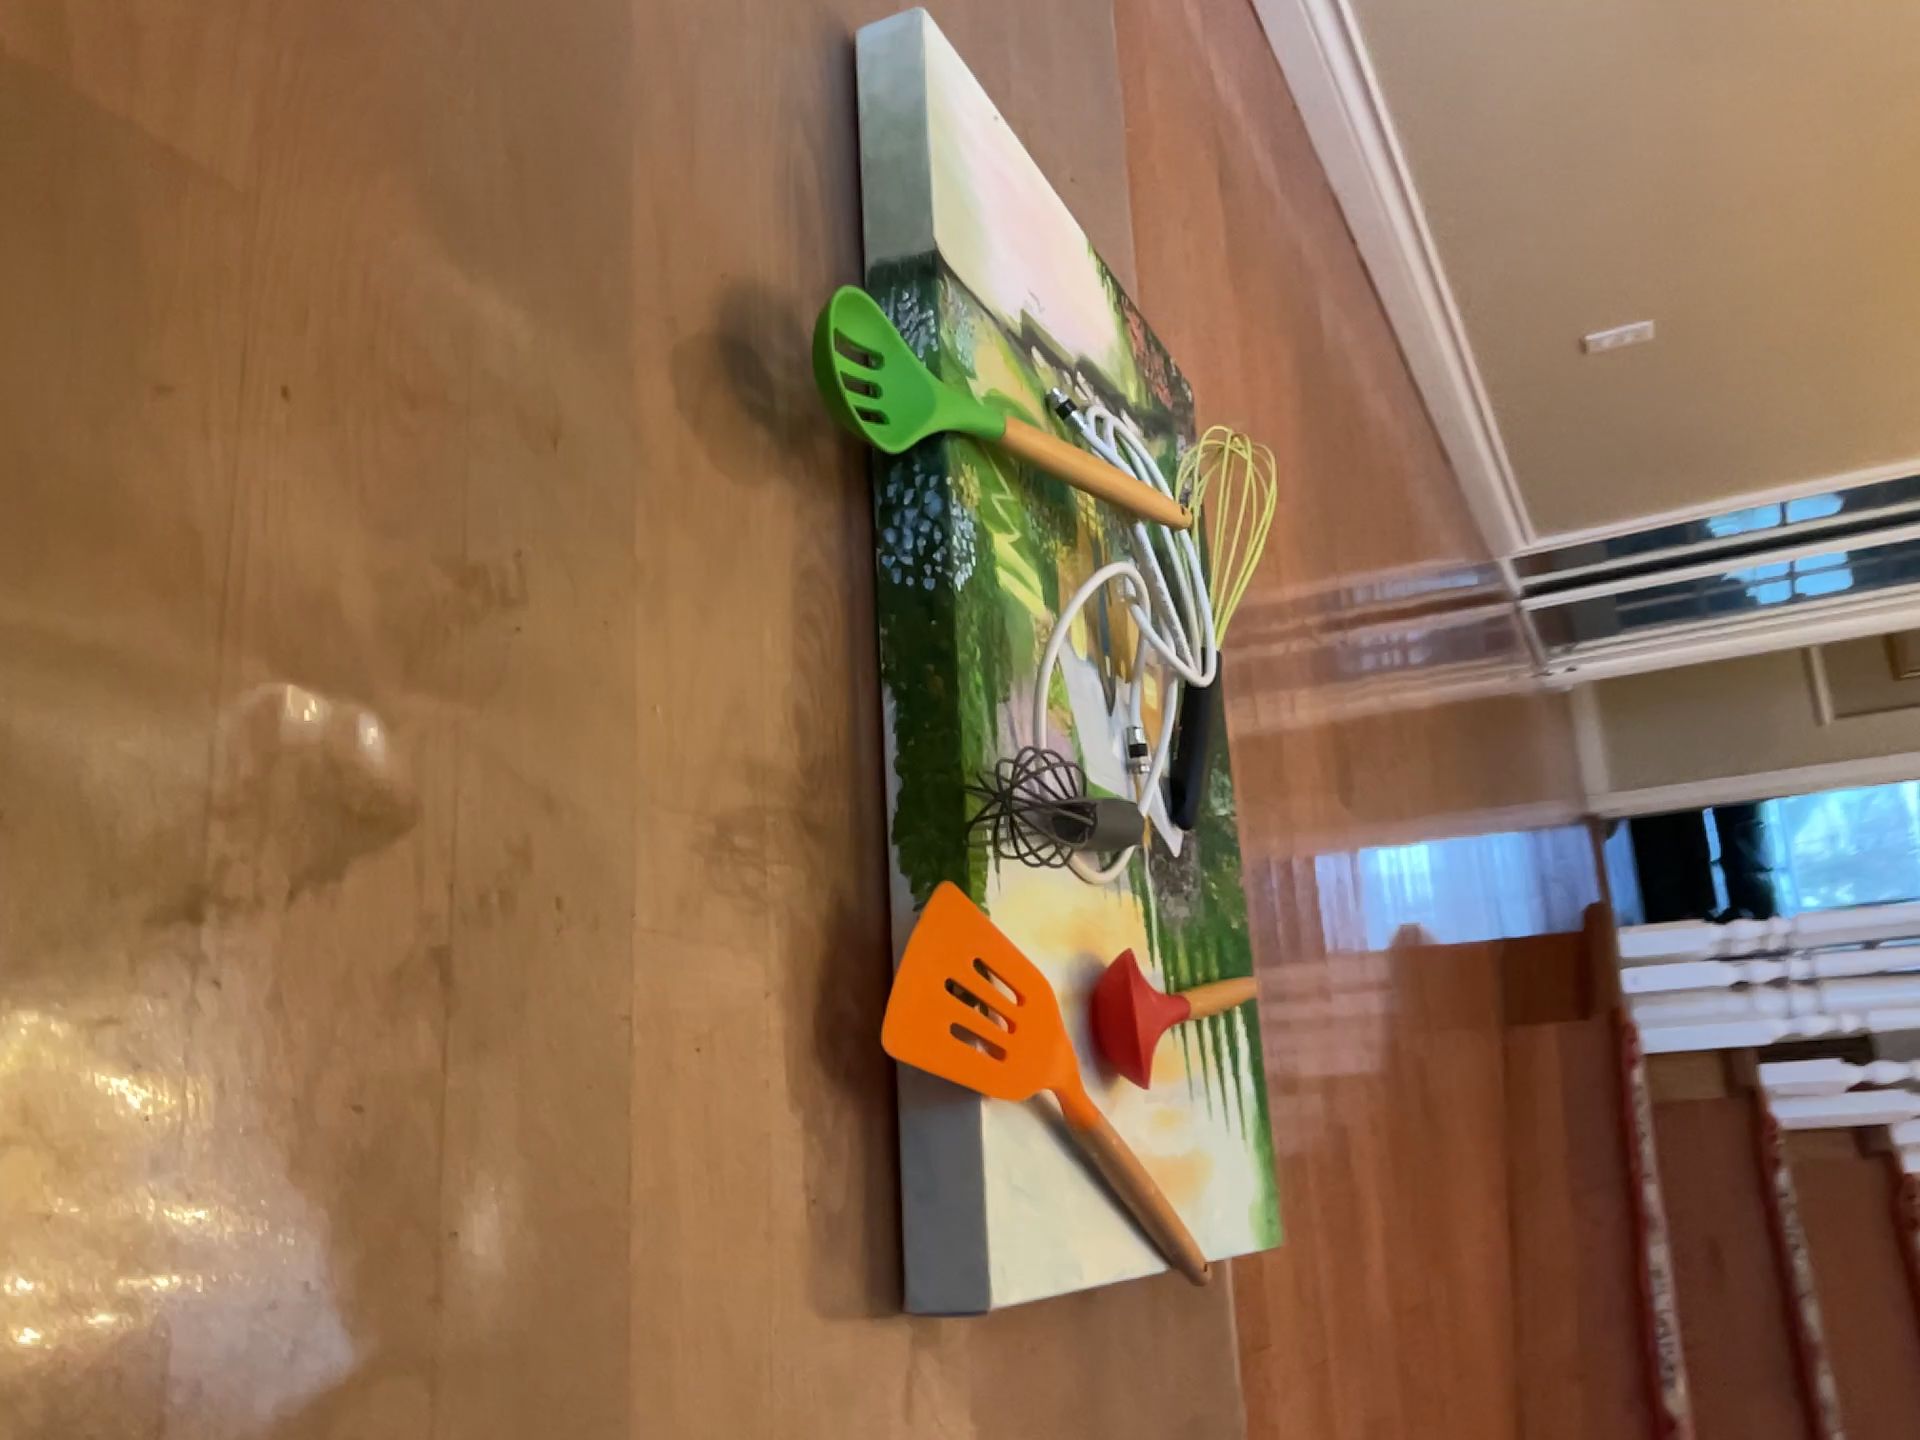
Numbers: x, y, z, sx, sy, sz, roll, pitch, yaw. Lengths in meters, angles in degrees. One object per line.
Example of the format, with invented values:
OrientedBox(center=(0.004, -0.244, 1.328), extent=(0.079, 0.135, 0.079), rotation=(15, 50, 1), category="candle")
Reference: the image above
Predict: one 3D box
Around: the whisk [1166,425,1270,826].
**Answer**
OrientedBox(center=(0.161, -0.070, 1.046), extent=(0.079, 0.067, 0.312), rotation=(45, 46, -45), category="whisk")

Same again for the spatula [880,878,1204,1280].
OrientedBox(center=(0.055, 0.192, 0.738), extent=(0.322, 0.041, 0.081), rotation=(59, 42, -43), category="spatula")

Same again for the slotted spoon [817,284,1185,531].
OrientedBox(center=(0.030, -0.135, 0.780), extent=(0.313, 0.031, 0.070), rotation=(14, 67, -52), category="slotted spoon")

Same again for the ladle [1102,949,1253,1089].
OrientedBox(center=(0.131, 0.160, 0.903), extent=(0.315, 0.031, 0.069), rotation=(14, 69, -68), category="ladle")

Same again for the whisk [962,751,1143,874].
OrientedBox(center=(0.056, 0.046, 0.755), extent=(0.238, 0.055, 0.055), rotation=(18, 75, -71), category="whisk")
